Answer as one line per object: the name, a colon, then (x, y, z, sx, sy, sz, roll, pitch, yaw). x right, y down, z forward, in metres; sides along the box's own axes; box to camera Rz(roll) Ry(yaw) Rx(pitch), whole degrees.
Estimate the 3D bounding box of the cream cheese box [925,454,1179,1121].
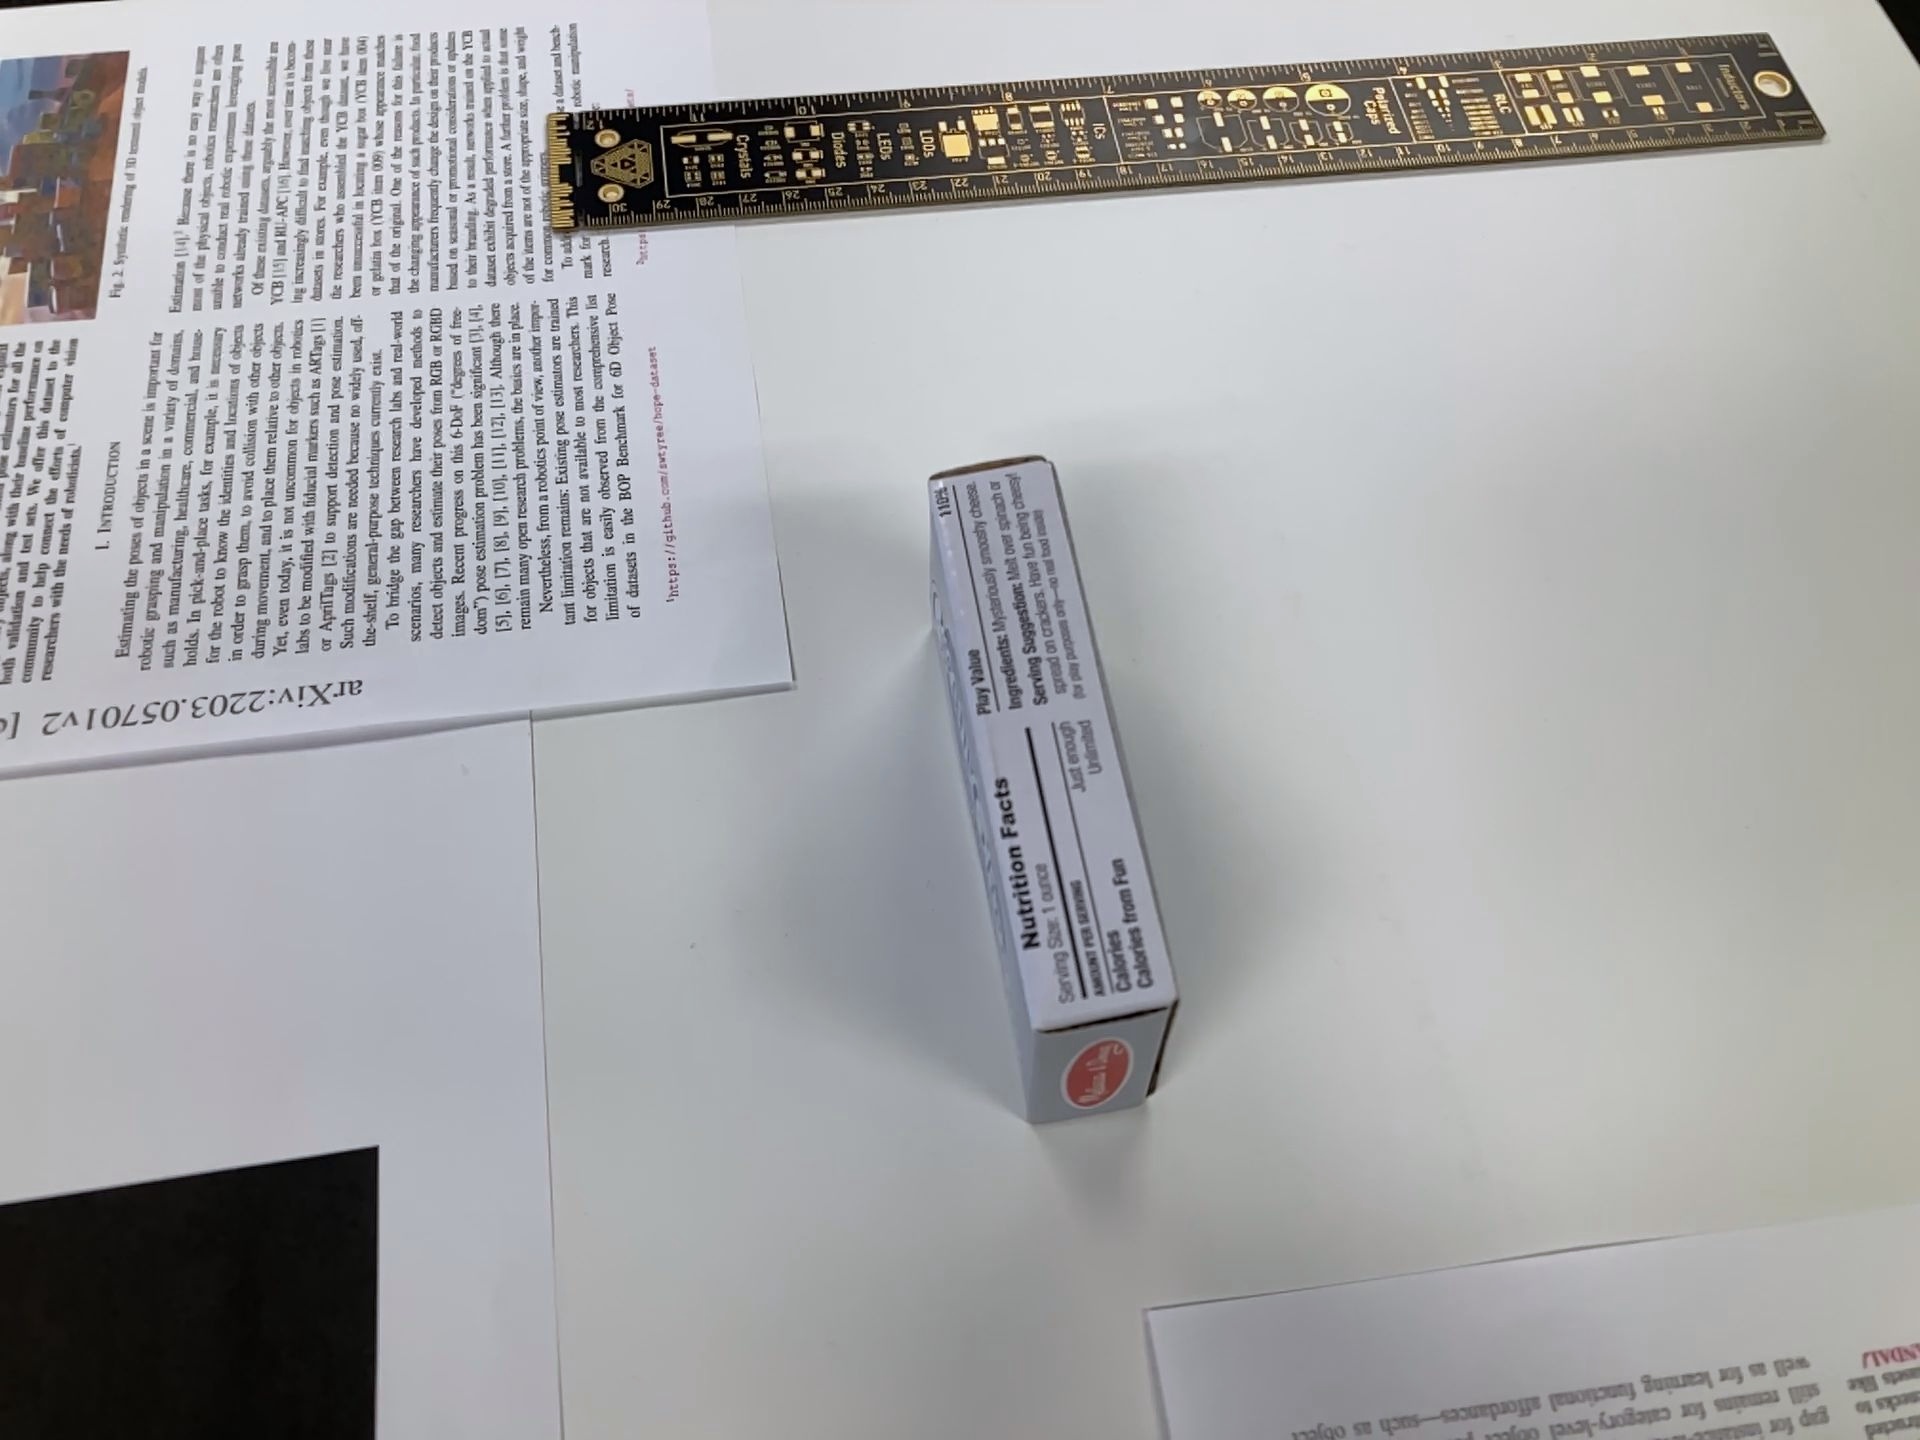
cream cheese box: (0.013, 0.011, 0.275, 0.024, 0.053, 0.104, -8, 62, -5)
